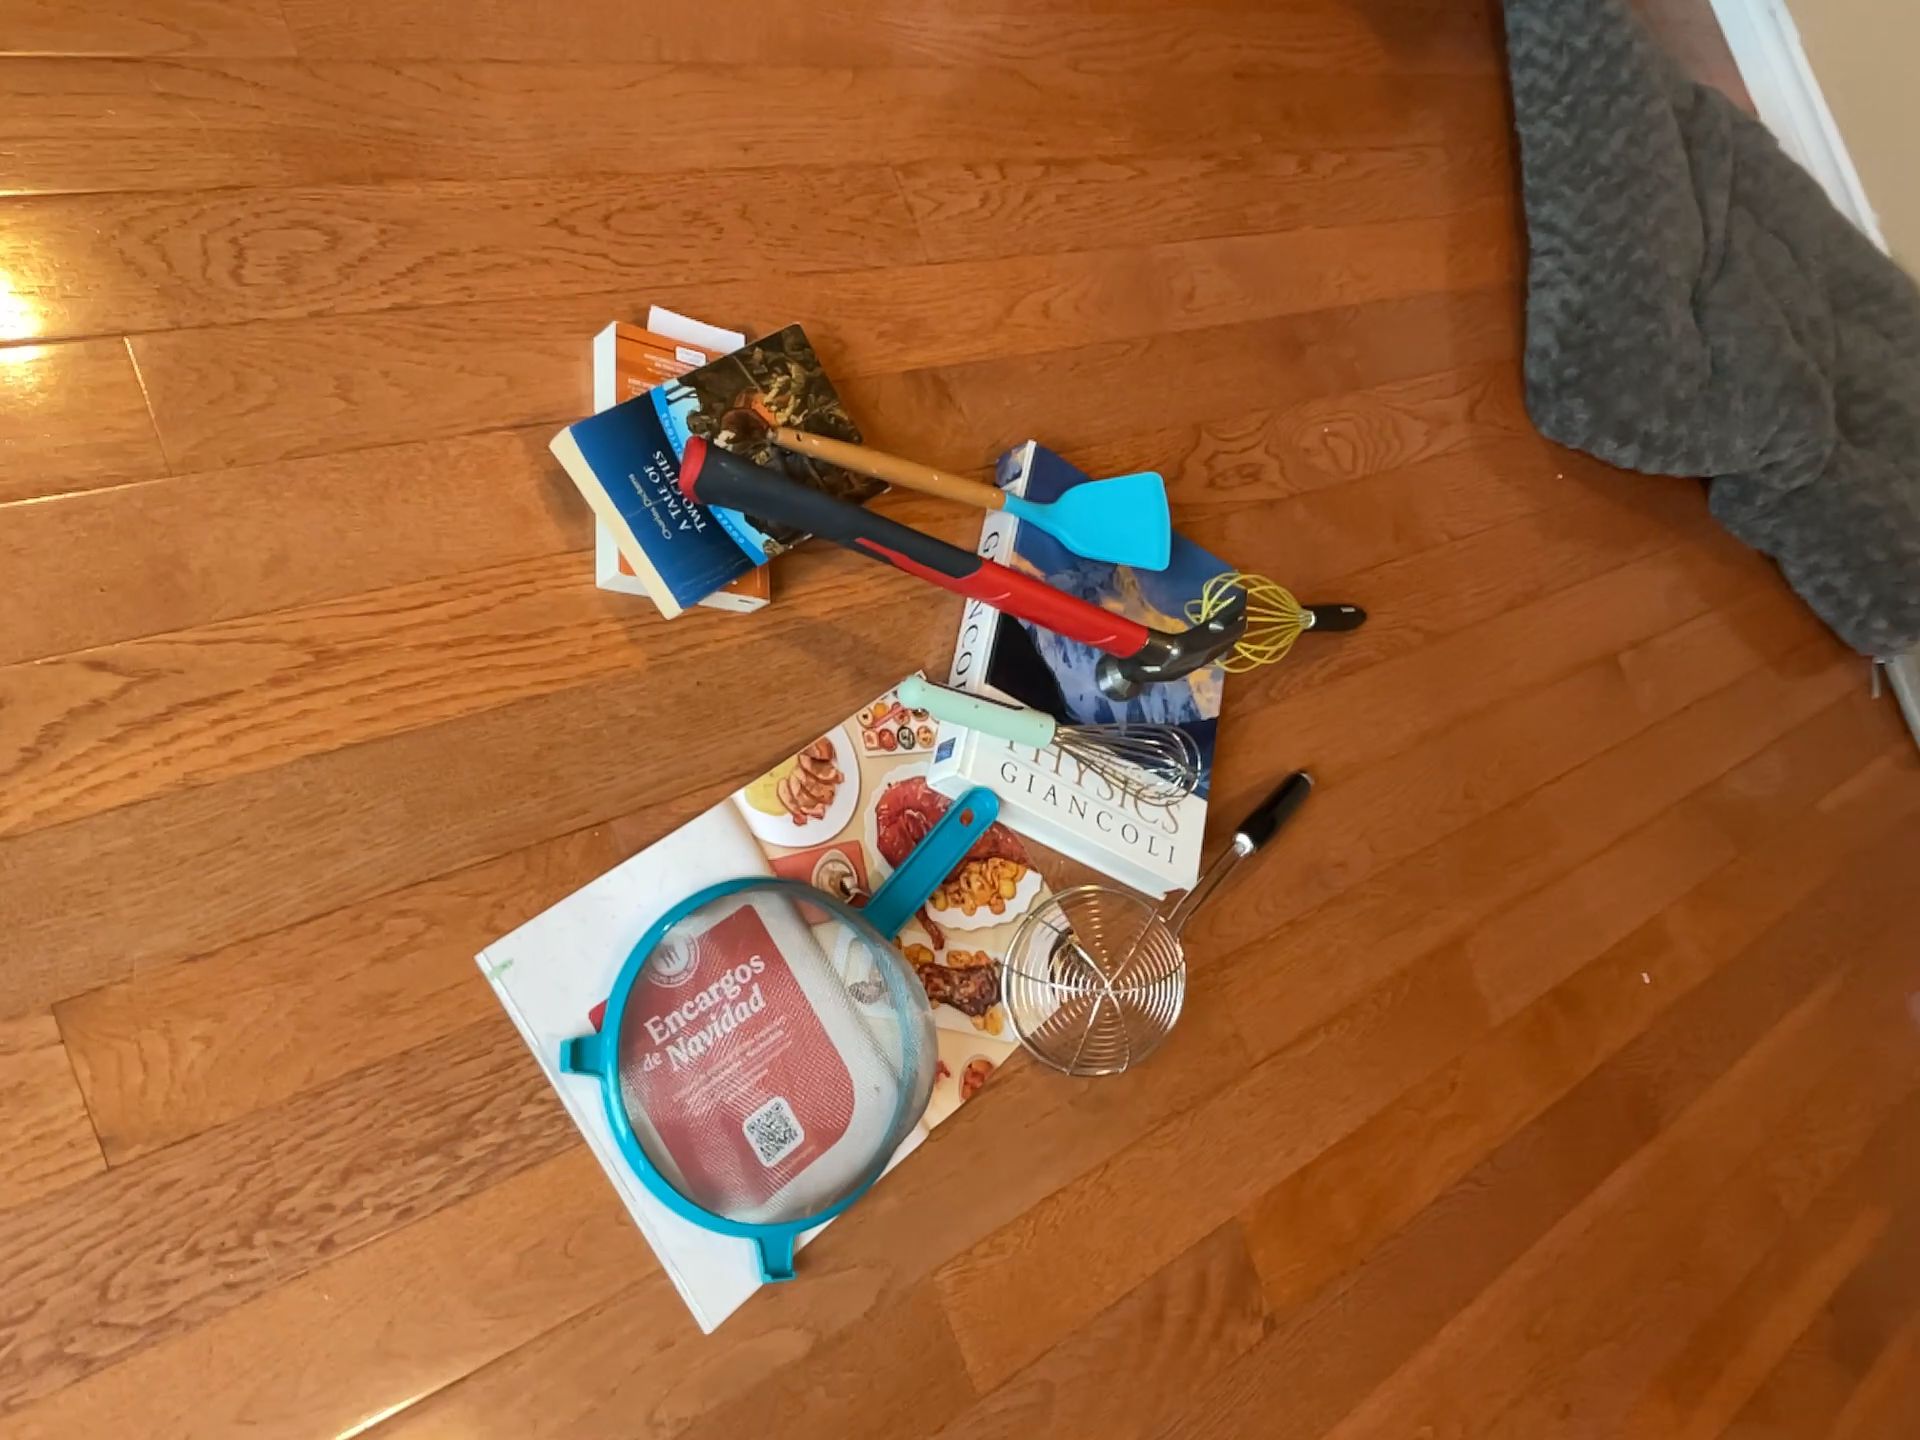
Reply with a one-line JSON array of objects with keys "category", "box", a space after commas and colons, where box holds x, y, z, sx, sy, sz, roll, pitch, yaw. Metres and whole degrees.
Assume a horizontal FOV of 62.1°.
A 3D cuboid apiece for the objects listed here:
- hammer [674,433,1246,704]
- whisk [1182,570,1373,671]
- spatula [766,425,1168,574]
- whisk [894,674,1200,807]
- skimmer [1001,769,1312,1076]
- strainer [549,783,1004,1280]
[{"category": "hammer", "box": [0.002, -0.104, 1.027, 0.386, 0.143, 0.038, 20, 60, -28]}, {"category": "whisk", "box": [0.267, -0.081, 1.288, 0.312, 0.067, 0.080, -7, 63, -53]}, {"category": "spatula", "box": [0.012, -0.163, 1.105, 0.317, 0.044, 0.082, 10, 71, -34]}, {"category": "whisk", "box": [0.064, 0.010, 1.090, 0.246, 0.058, 0.059, 17, 96, -27]}, {"category": "skimmer", "box": [0.161, 0.127, 1.177, 0.364, 0.090, 0.127, -35, 95, -50]}, {"category": "strainer", "box": [-0.059, 0.148, 0.948, 0.211, 0.095, 0.341, 50, 59, -12]}]
